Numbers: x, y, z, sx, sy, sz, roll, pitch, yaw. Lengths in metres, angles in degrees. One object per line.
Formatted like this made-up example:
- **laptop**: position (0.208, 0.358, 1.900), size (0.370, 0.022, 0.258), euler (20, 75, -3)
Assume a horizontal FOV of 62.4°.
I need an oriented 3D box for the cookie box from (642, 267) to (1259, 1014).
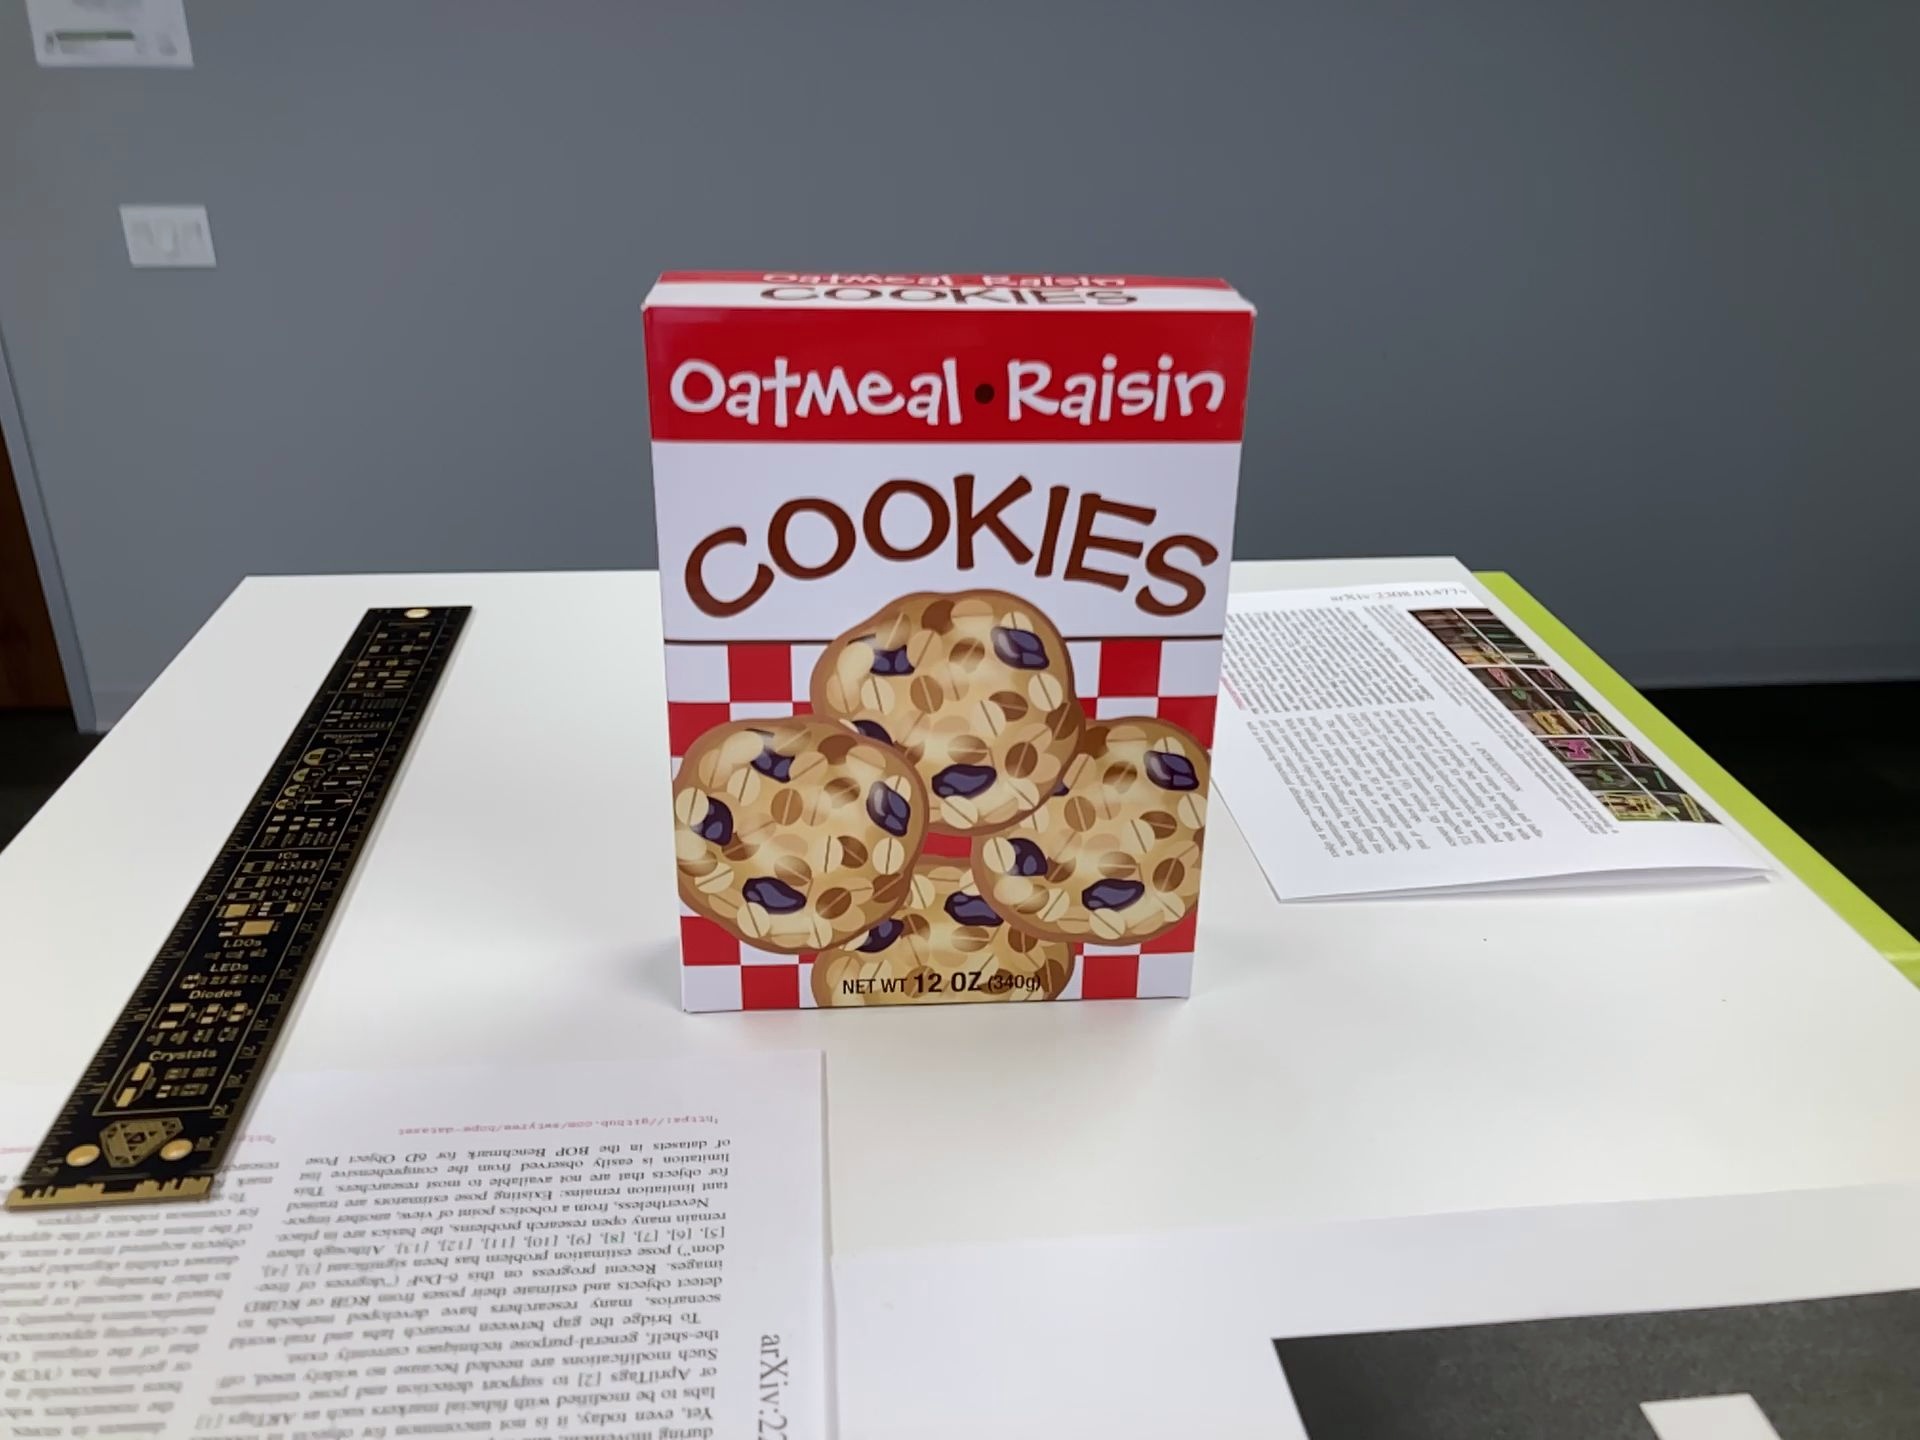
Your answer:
- **cookie box**: position (-0.004, -0.015, 0.360), size (0.123, 0.167, 0.040), euler (-1, 25, -4)
